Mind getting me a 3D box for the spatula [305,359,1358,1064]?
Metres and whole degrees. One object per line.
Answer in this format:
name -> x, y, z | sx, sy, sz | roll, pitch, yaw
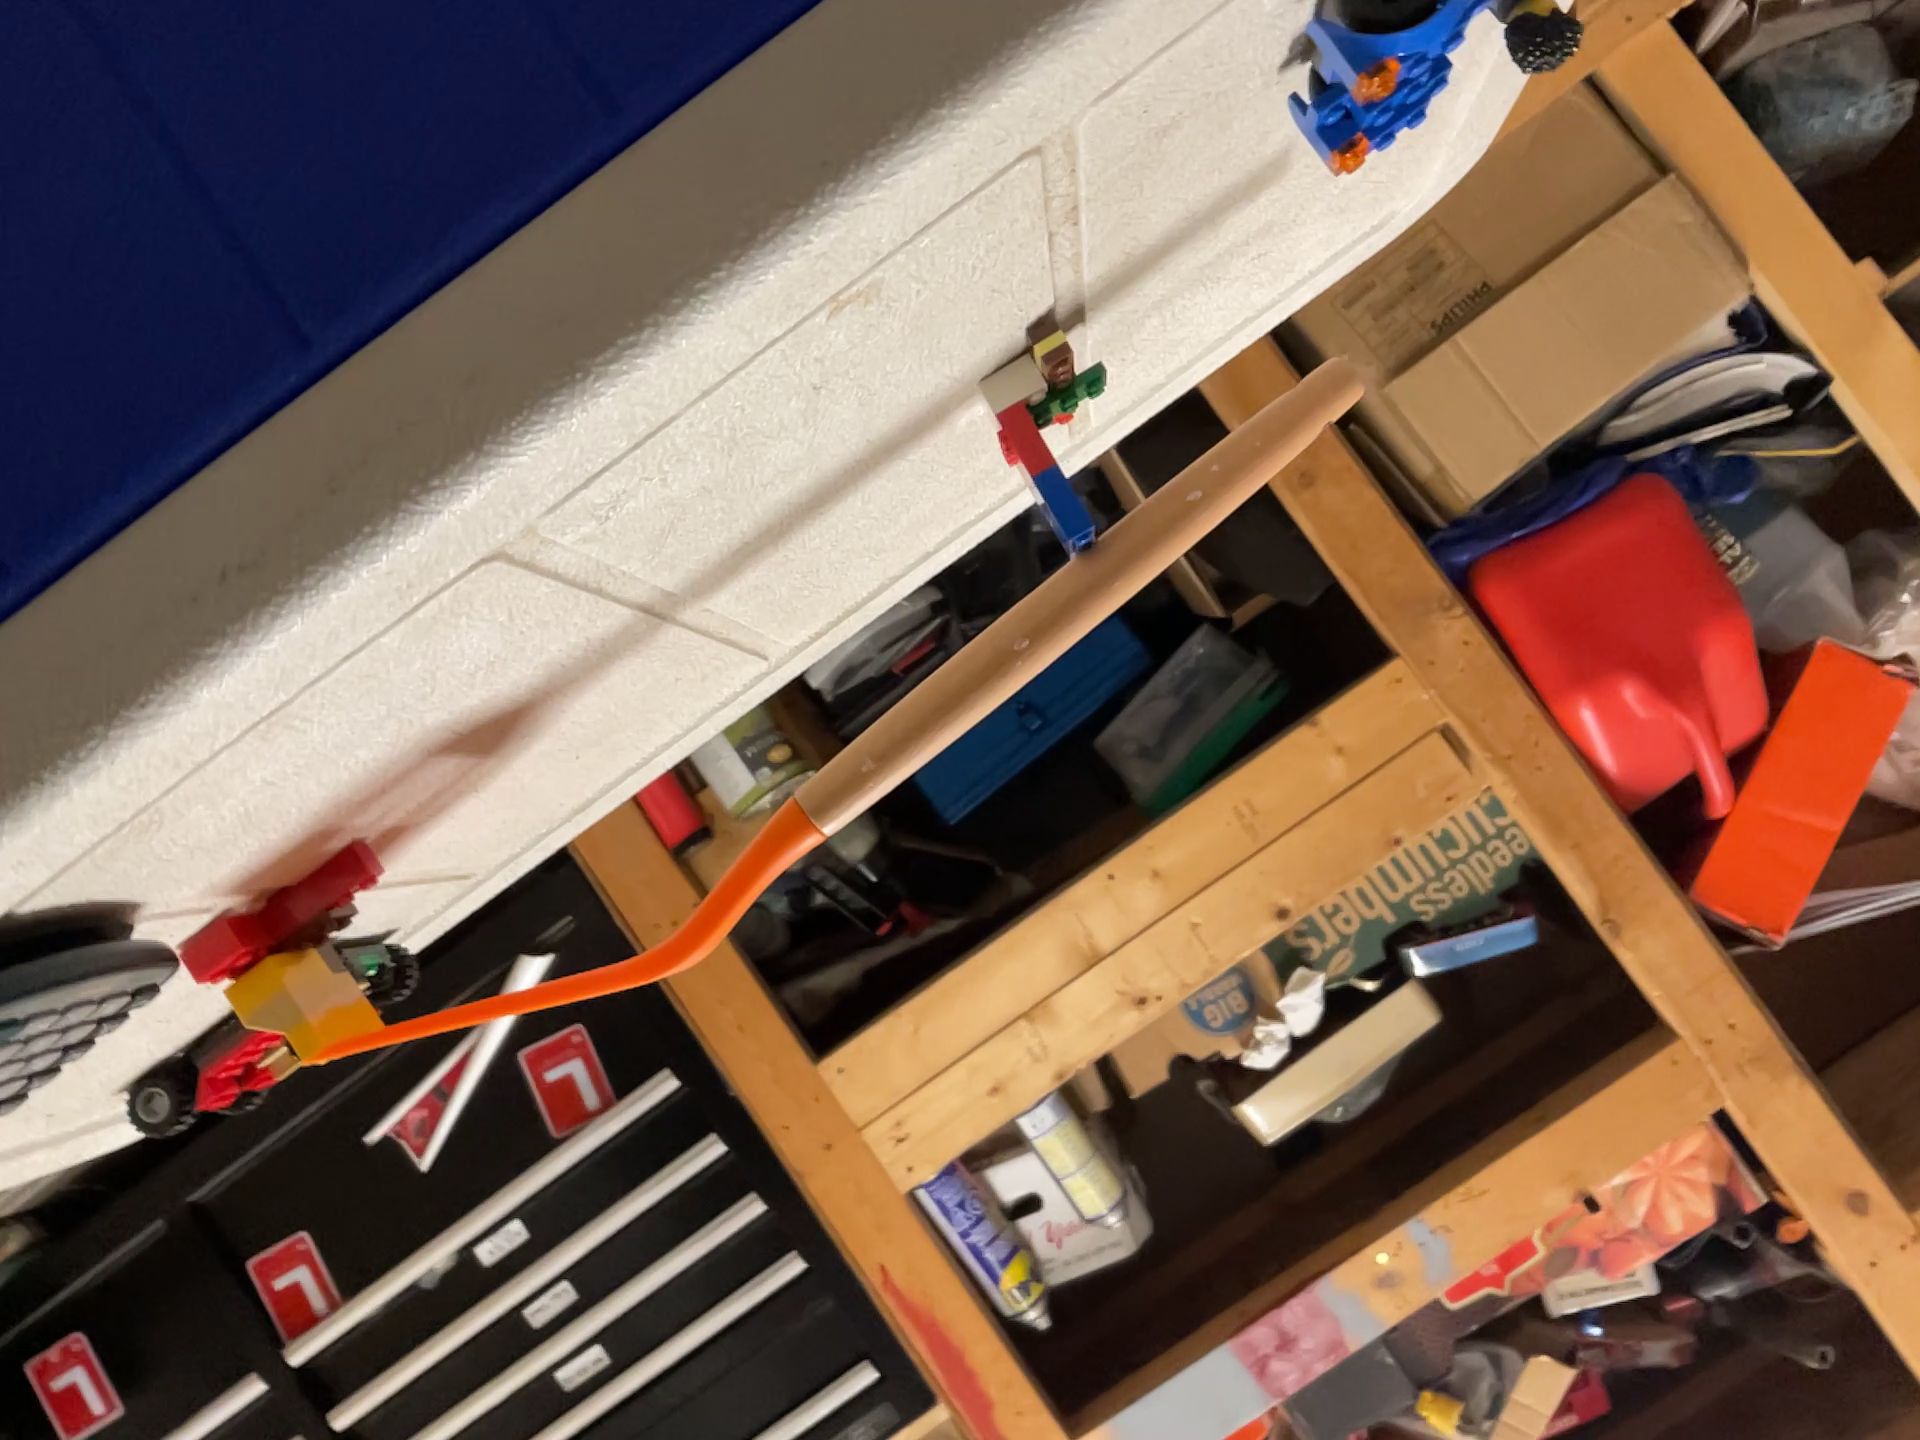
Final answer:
spatula -> -0.028, 0.003, 0.430 | 0.322, 0.041, 0.081 | -39, 174, 1
